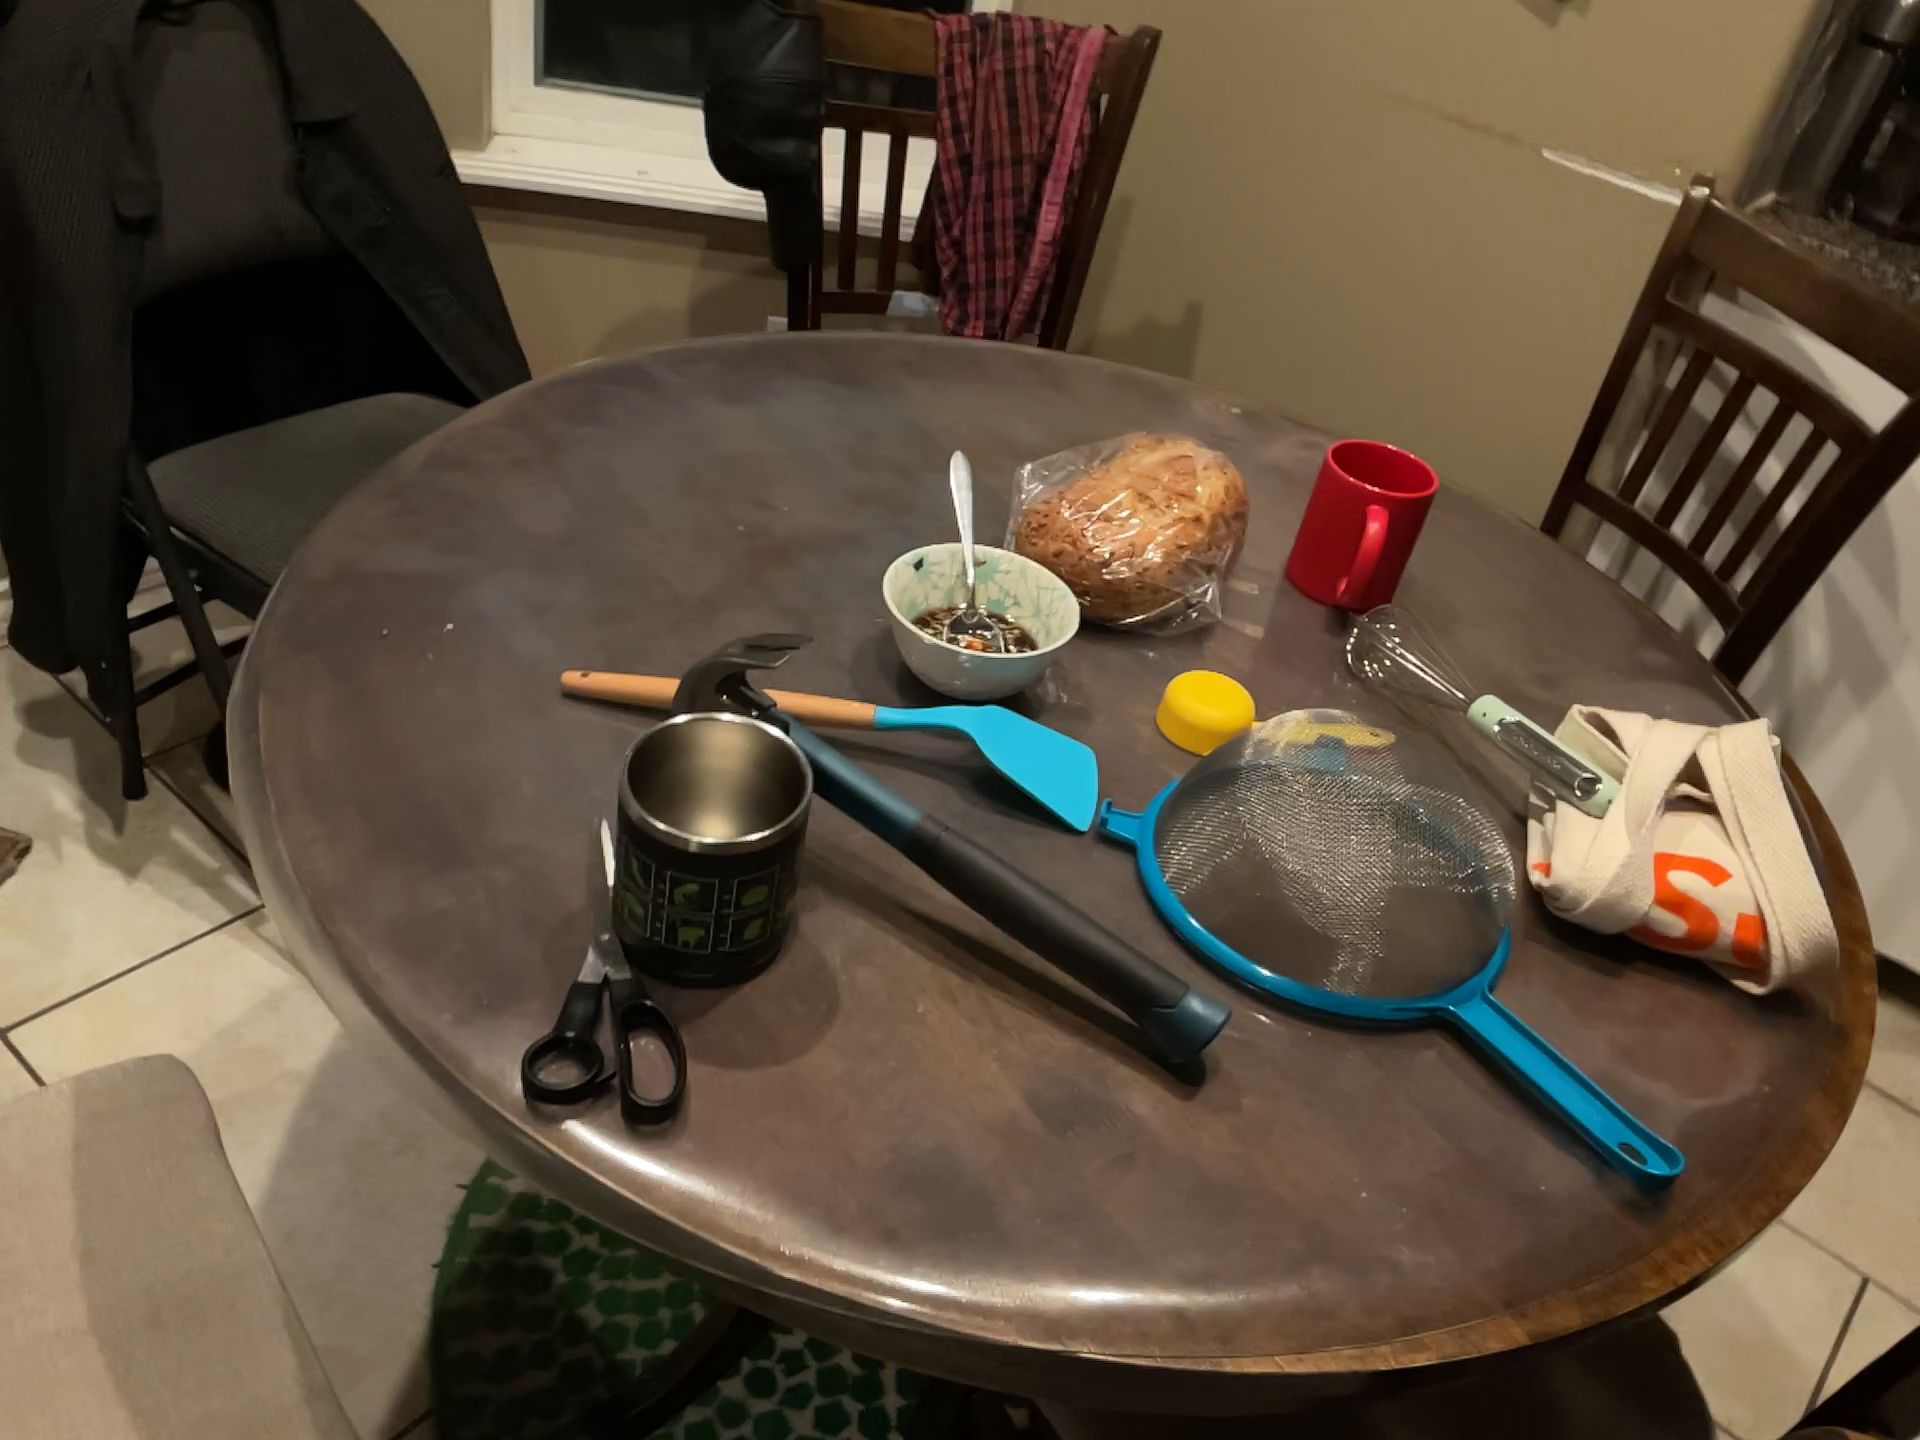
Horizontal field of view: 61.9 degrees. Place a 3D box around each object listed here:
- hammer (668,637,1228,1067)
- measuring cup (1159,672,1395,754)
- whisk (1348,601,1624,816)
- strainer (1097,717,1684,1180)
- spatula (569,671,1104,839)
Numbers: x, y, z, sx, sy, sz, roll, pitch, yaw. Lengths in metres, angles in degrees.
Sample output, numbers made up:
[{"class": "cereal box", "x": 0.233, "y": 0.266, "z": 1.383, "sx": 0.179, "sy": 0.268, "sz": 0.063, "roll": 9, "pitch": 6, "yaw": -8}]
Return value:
[{"class": "hammer", "x": -0.013, "y": 0.069, "z": 0.813, "sx": 0.331, "sy": 0.128, "sz": 0.033, "roll": 34, "pitch": 44, "yaw": 14}, {"class": "measuring cup", "x": 0.204, "y": -0.003, "z": 1.011, "sx": 0.156, "sy": 0.029, "sz": 0.062, "roll": 4, "pitch": 37, "yaw": -8}, {"class": "whisk", "x": 0.326, "y": -0.010, "z": 1.014, "sx": 0.059, "sy": 0.057, "sz": 0.246, "roll": 25, "pitch": 15, "yaw": -37}, {"class": "strainer", "x": 0.244, "y": 0.094, "z": 0.841, "sx": 0.211, "sy": 0.095, "sz": 0.340, "roll": -16, "pitch": 40, "yaw": -31}, {"class": "spatula", "x": -0.071, "y": 0.007, "z": 0.933, "sx": 0.317, "sy": 0.044, "sz": 0.082, "roll": 8, "pitch": 37, "yaw": 2}]
